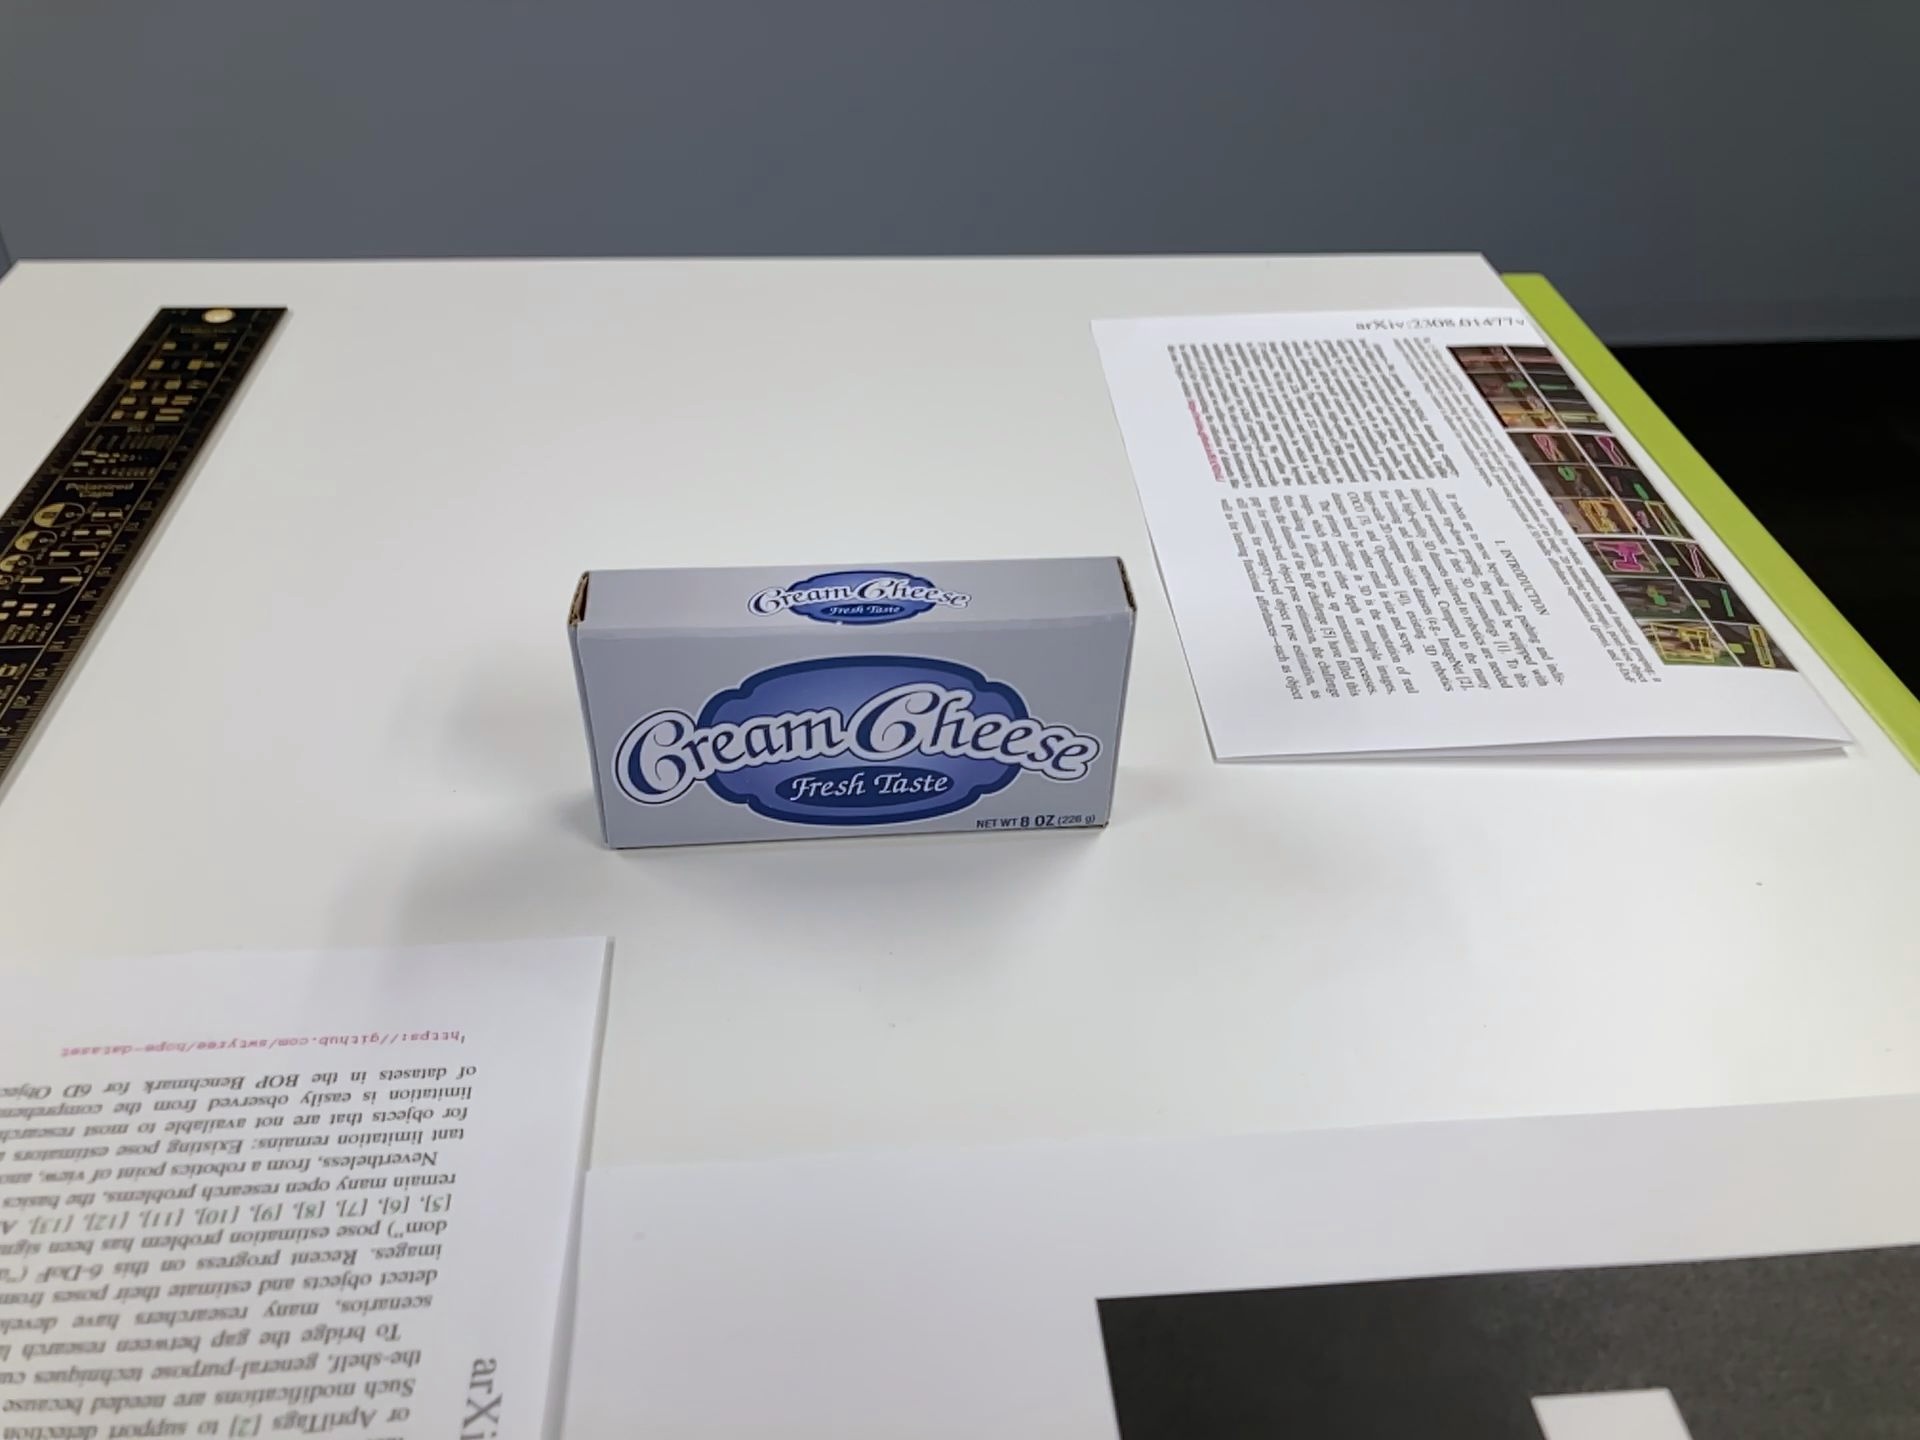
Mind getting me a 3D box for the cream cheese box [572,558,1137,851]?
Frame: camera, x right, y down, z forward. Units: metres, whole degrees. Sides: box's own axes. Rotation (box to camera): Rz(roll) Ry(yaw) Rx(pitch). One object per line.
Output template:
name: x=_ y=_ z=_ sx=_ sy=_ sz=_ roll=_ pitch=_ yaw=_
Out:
cream cheese box: x=-0.020 y=-0.003 z=0.312 sx=0.104 sy=0.053 sz=0.024 roll=-2 pitch=37 yaw=-5
